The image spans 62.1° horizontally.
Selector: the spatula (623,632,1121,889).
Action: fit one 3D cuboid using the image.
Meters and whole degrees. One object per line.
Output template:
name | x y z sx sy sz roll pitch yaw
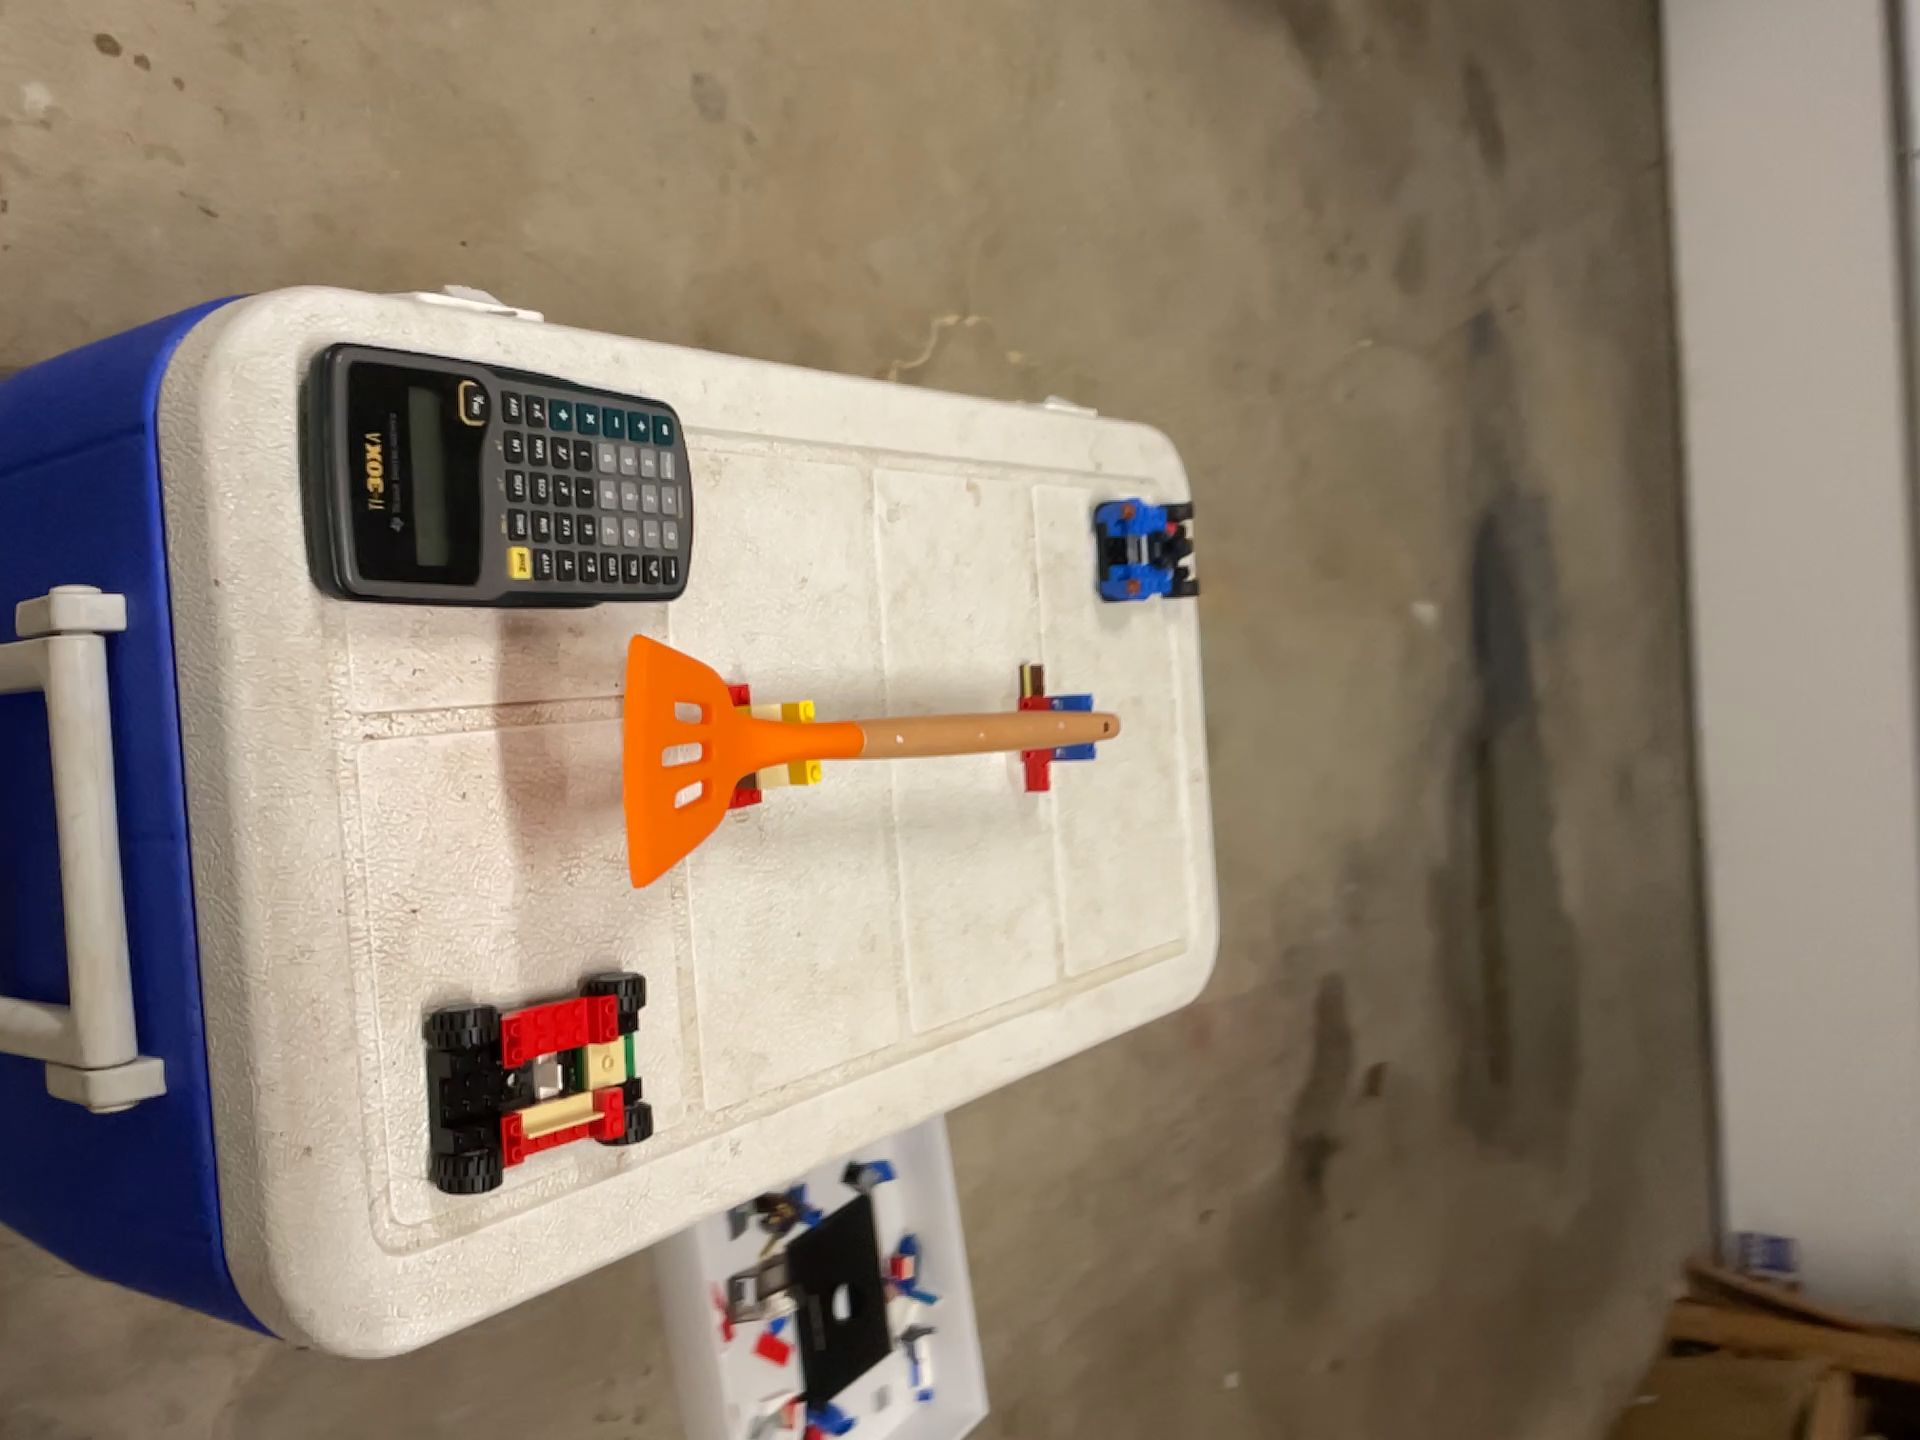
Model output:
spatula | -0.020 0.008 0.629 0.322 0.041 0.081 -3 93 -52
